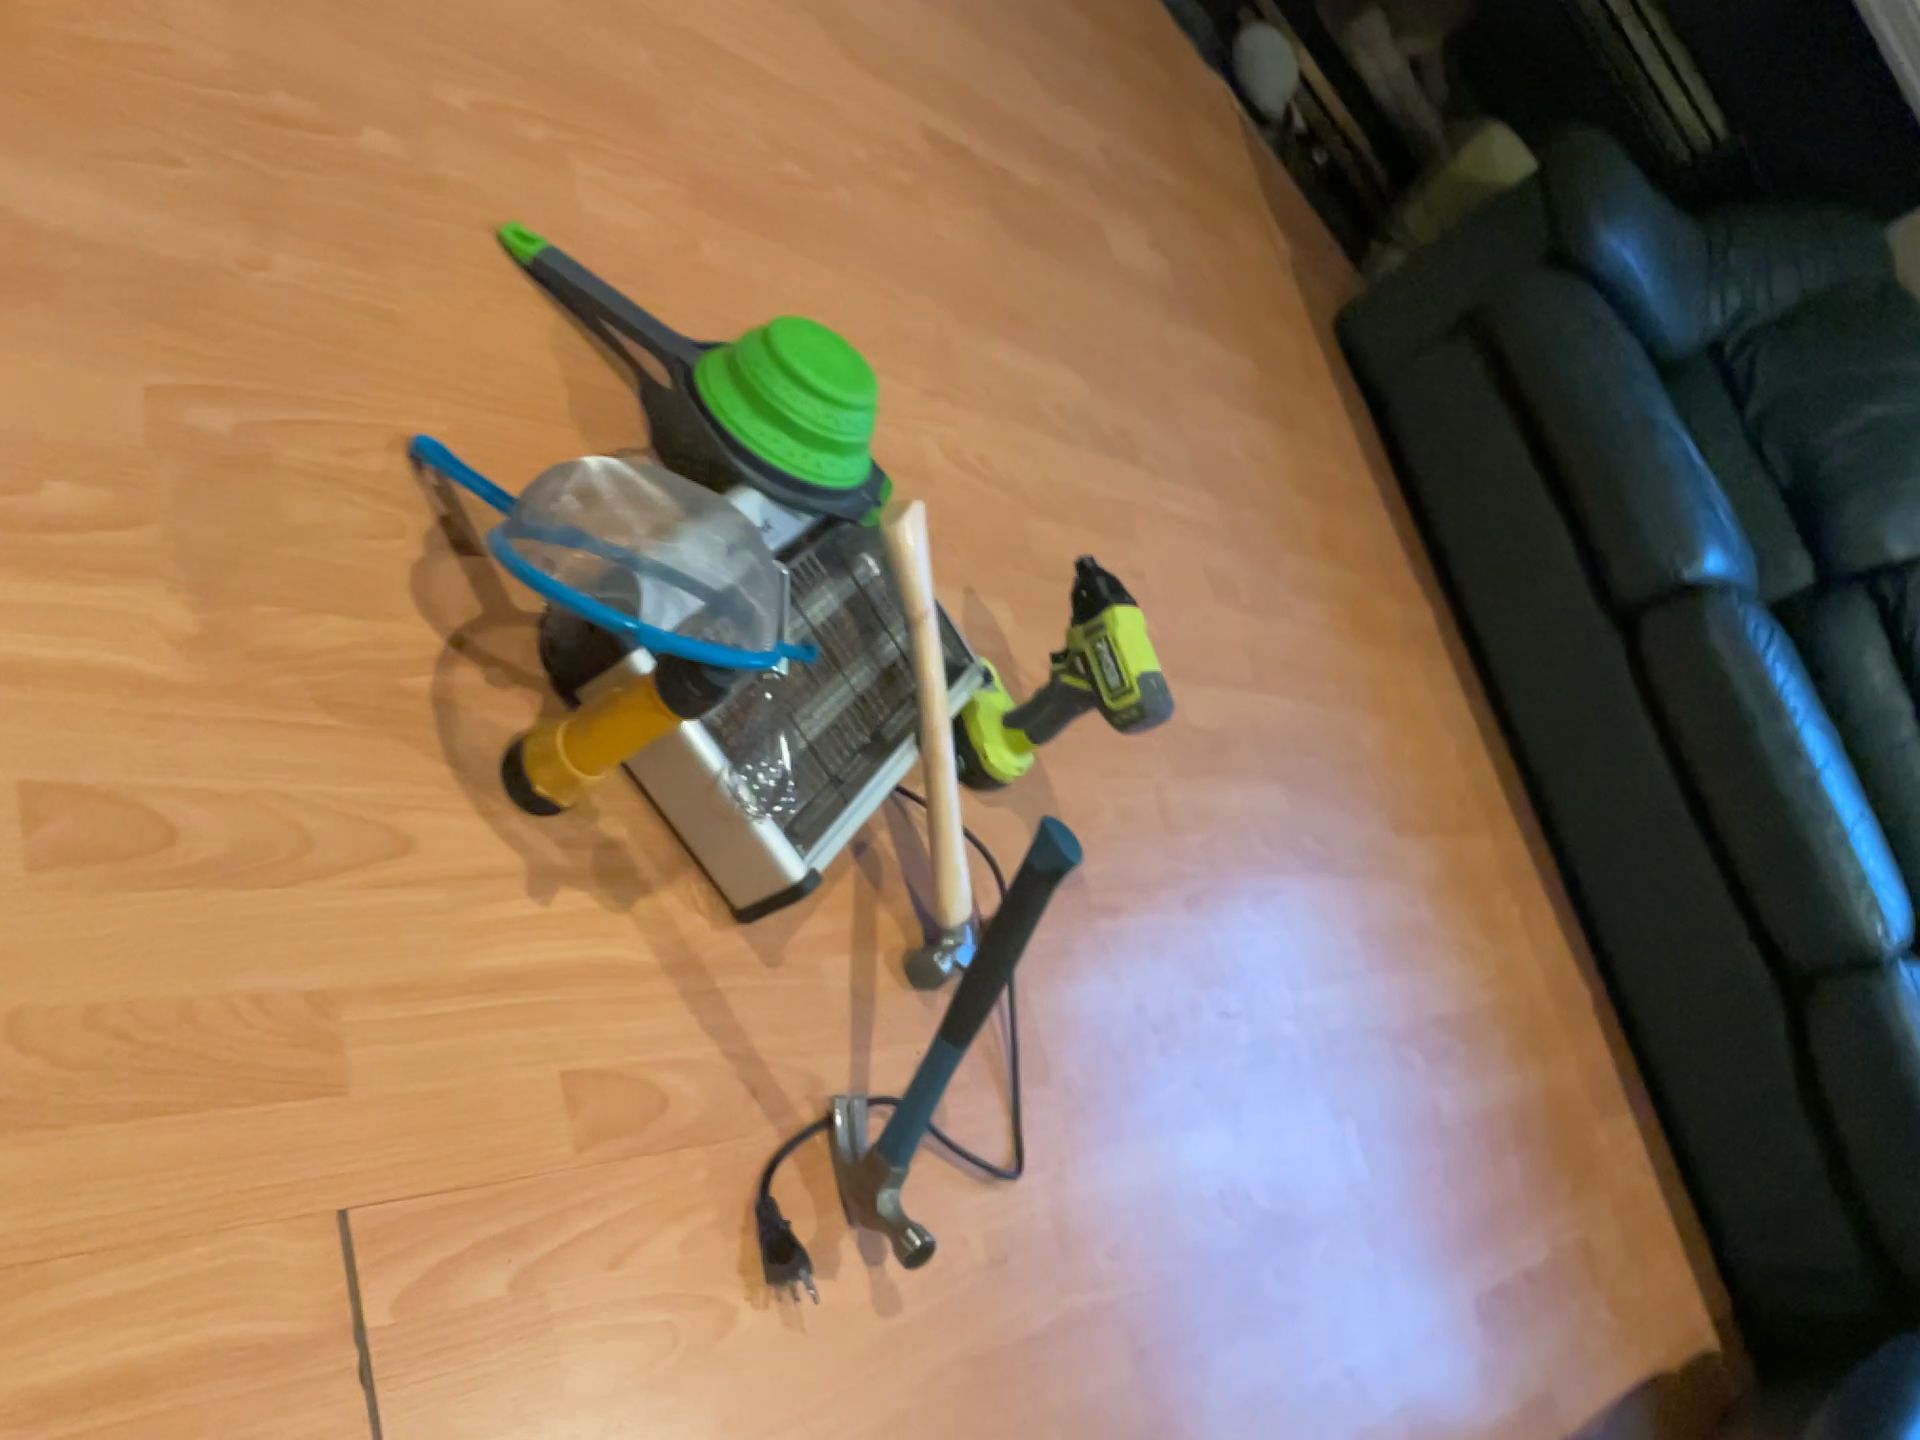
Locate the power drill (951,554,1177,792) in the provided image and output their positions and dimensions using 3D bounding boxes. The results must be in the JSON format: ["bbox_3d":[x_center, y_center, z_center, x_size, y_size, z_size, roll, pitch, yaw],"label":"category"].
[{"bbox_3d":[0.082,-0.039,1.510,0.080,0.223,0.171,0,66,-53],"label":"power drill"}]

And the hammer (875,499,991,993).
[{"bbox_3d":[-0.017,0.016,1.372,0.146,0.038,0.410,-24,110,-55],"label":"hammer"}]

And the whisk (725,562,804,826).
[{"bbox_3d":[-0.145,-0.026,1.220,0.058,0.059,0.246,9,52,-15],"label":"whisk"}]

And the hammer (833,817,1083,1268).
[{"bbox_3d":[0.002,0.224,1.170,0.033,0.330,0.128,16,15,-47],"label":"hammer"}]

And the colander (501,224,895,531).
[{"bbox_3d":[-0.205,-0.324,1.372,0.397,0.094,0.205,35,32,-9],"label":"colander"}]

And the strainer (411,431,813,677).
[{"bbox_3d":[-0.252,-0.151,1.111,0.340,0.095,0.211,34,14,23],"label":"strainer"}]
